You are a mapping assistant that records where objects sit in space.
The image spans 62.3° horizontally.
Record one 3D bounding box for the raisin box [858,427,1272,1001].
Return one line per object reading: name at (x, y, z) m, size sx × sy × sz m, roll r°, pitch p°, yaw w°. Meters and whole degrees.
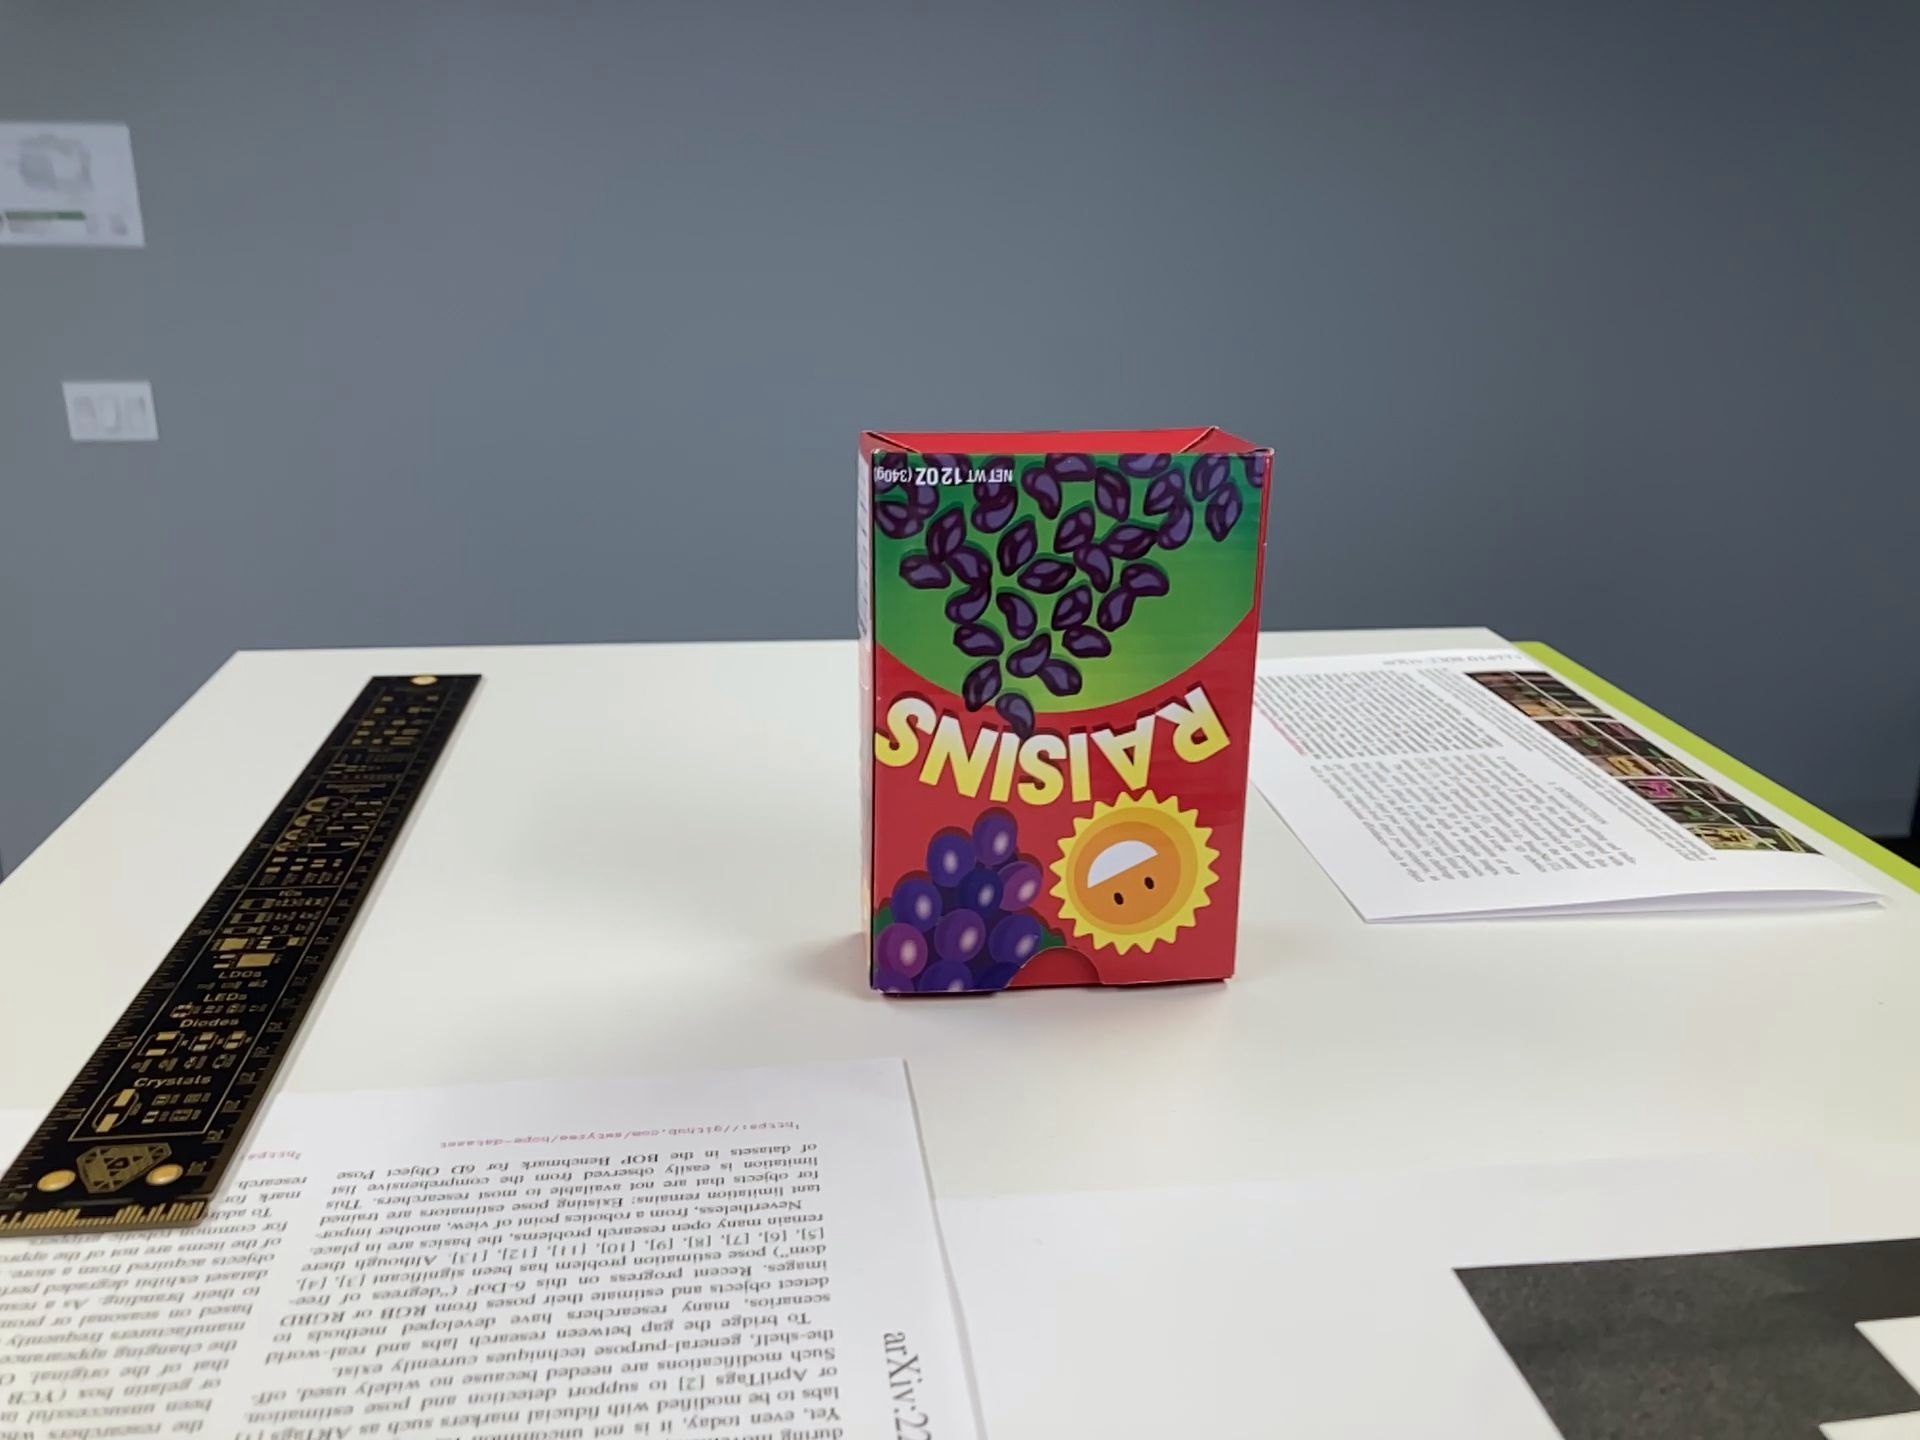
raisin box at (0.021, -0.002, 0.356) m, size 0.086 × 0.123 × 0.040 m, roll -2°, pitch 17°, yaw -9°
